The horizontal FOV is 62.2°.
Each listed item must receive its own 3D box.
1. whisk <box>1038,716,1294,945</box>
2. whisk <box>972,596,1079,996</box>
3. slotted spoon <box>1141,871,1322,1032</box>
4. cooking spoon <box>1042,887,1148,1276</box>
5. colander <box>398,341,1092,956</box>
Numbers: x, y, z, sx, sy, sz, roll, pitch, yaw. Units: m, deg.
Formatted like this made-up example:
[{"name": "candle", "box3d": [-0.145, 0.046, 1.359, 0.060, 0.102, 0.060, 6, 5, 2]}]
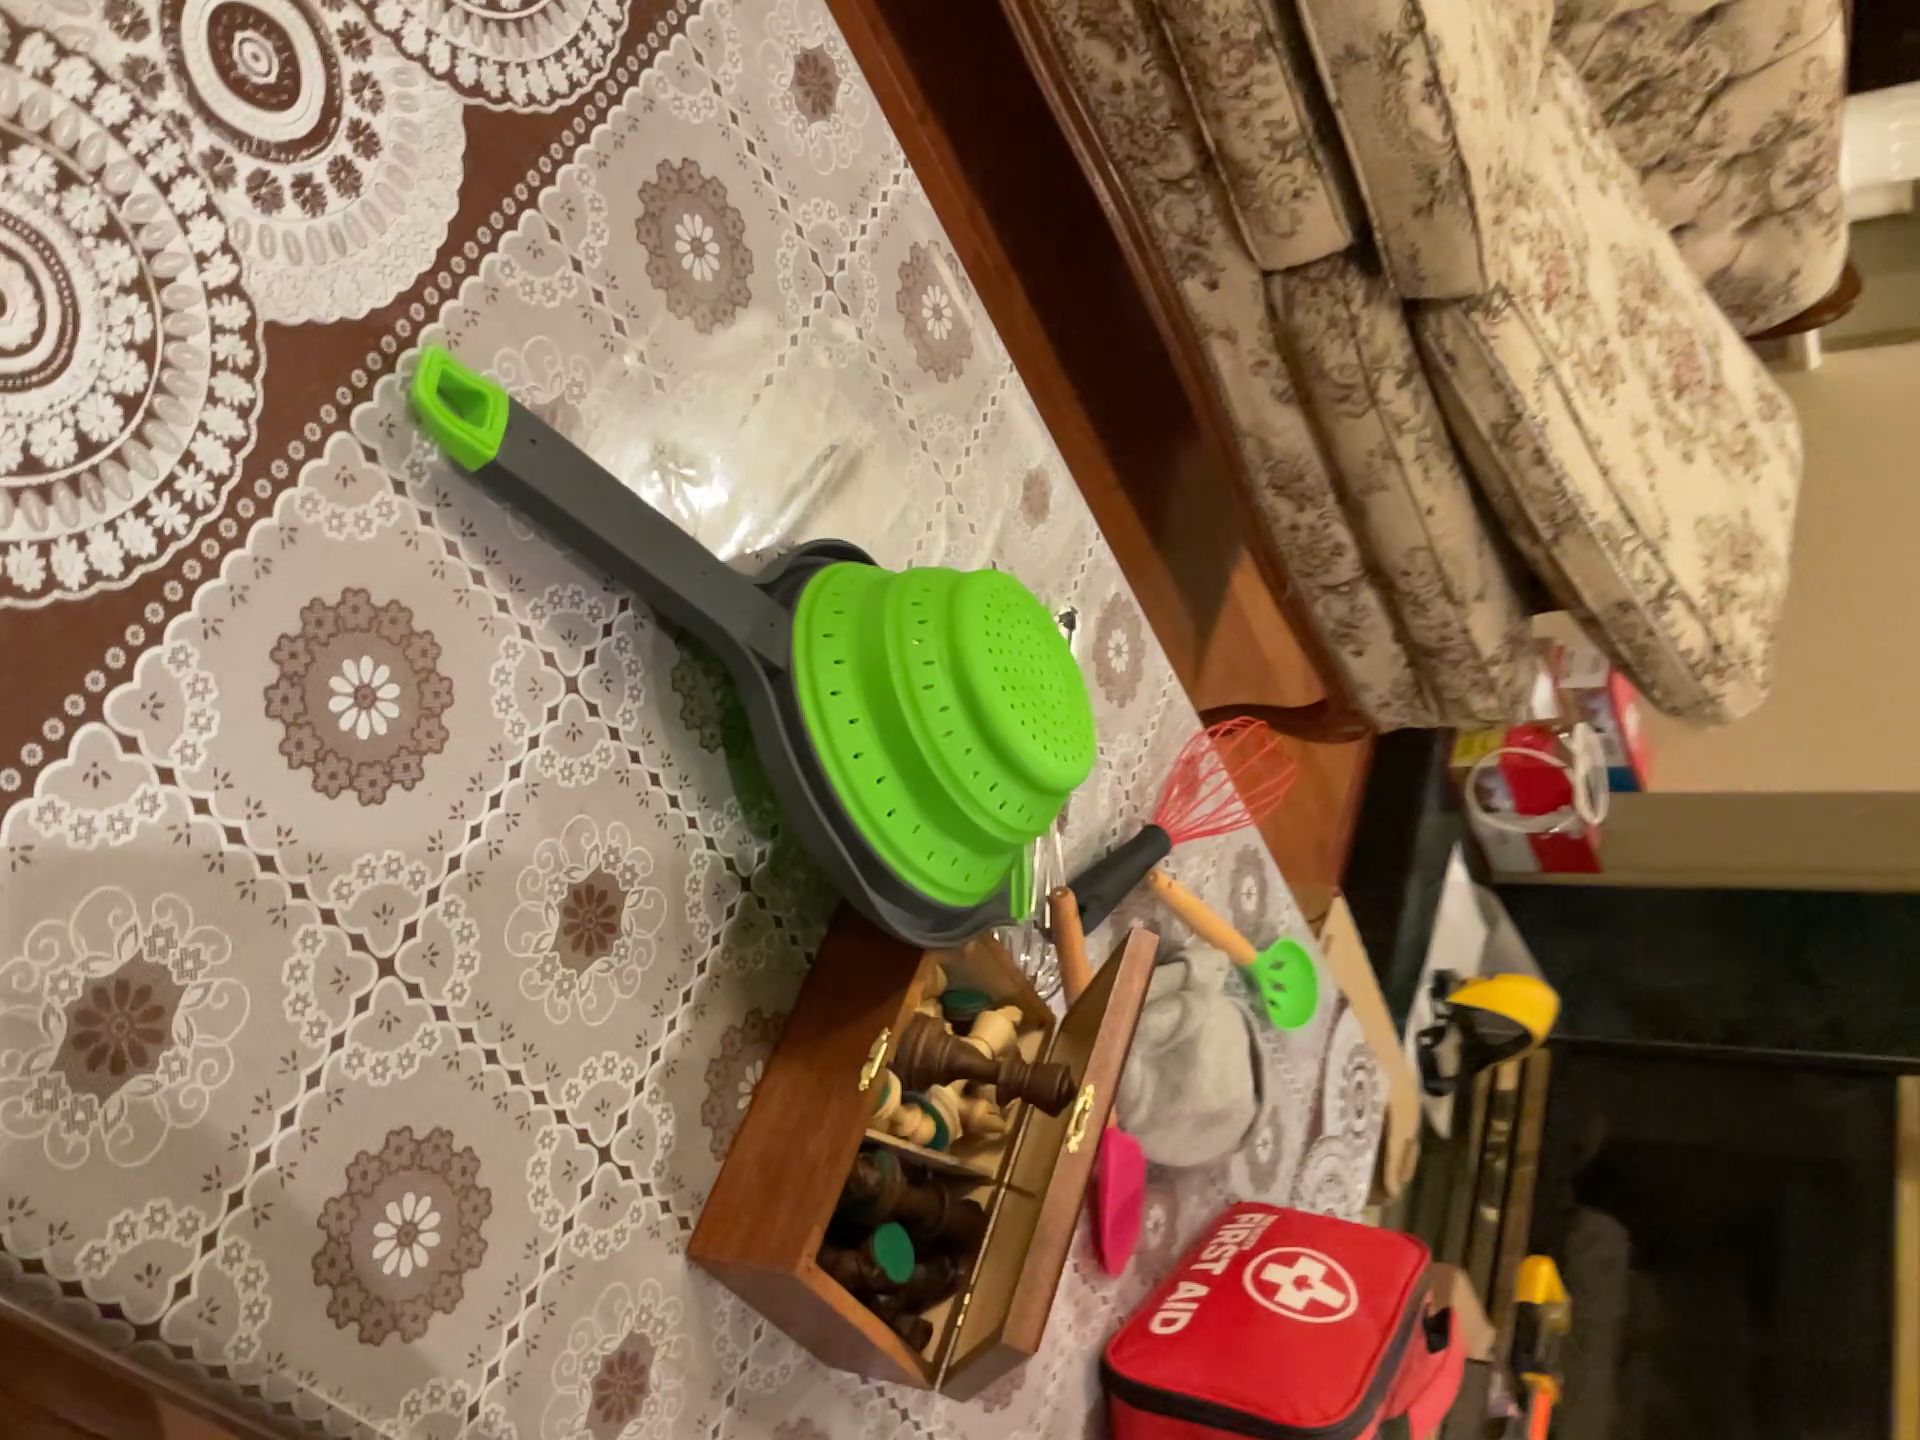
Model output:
[{"name": "whisk", "box3d": [0.138, 0.071, 1.035, 0.296, 0.073, 0.073, -32, 121, -46]}, {"name": "whisk", "box3d": [0.042, 0.042, 0.906, 0.057, 0.059, 0.246, 118, -18, -69]}, {"name": "slotted spoon", "box3d": [0.193, 0.157, 1.116, 0.313, 0.031, 0.070, 38, 58, -53]}, {"name": "cooking spoon", "box3d": [0.080, 0.215, 0.919, 0.069, 0.017, 0.318, -57, 144, -43]}, {"name": "colander", "box3d": [-0.052, -0.042, 0.675, 0.396, 0.094, 0.205, 39, 36, -41]}]
